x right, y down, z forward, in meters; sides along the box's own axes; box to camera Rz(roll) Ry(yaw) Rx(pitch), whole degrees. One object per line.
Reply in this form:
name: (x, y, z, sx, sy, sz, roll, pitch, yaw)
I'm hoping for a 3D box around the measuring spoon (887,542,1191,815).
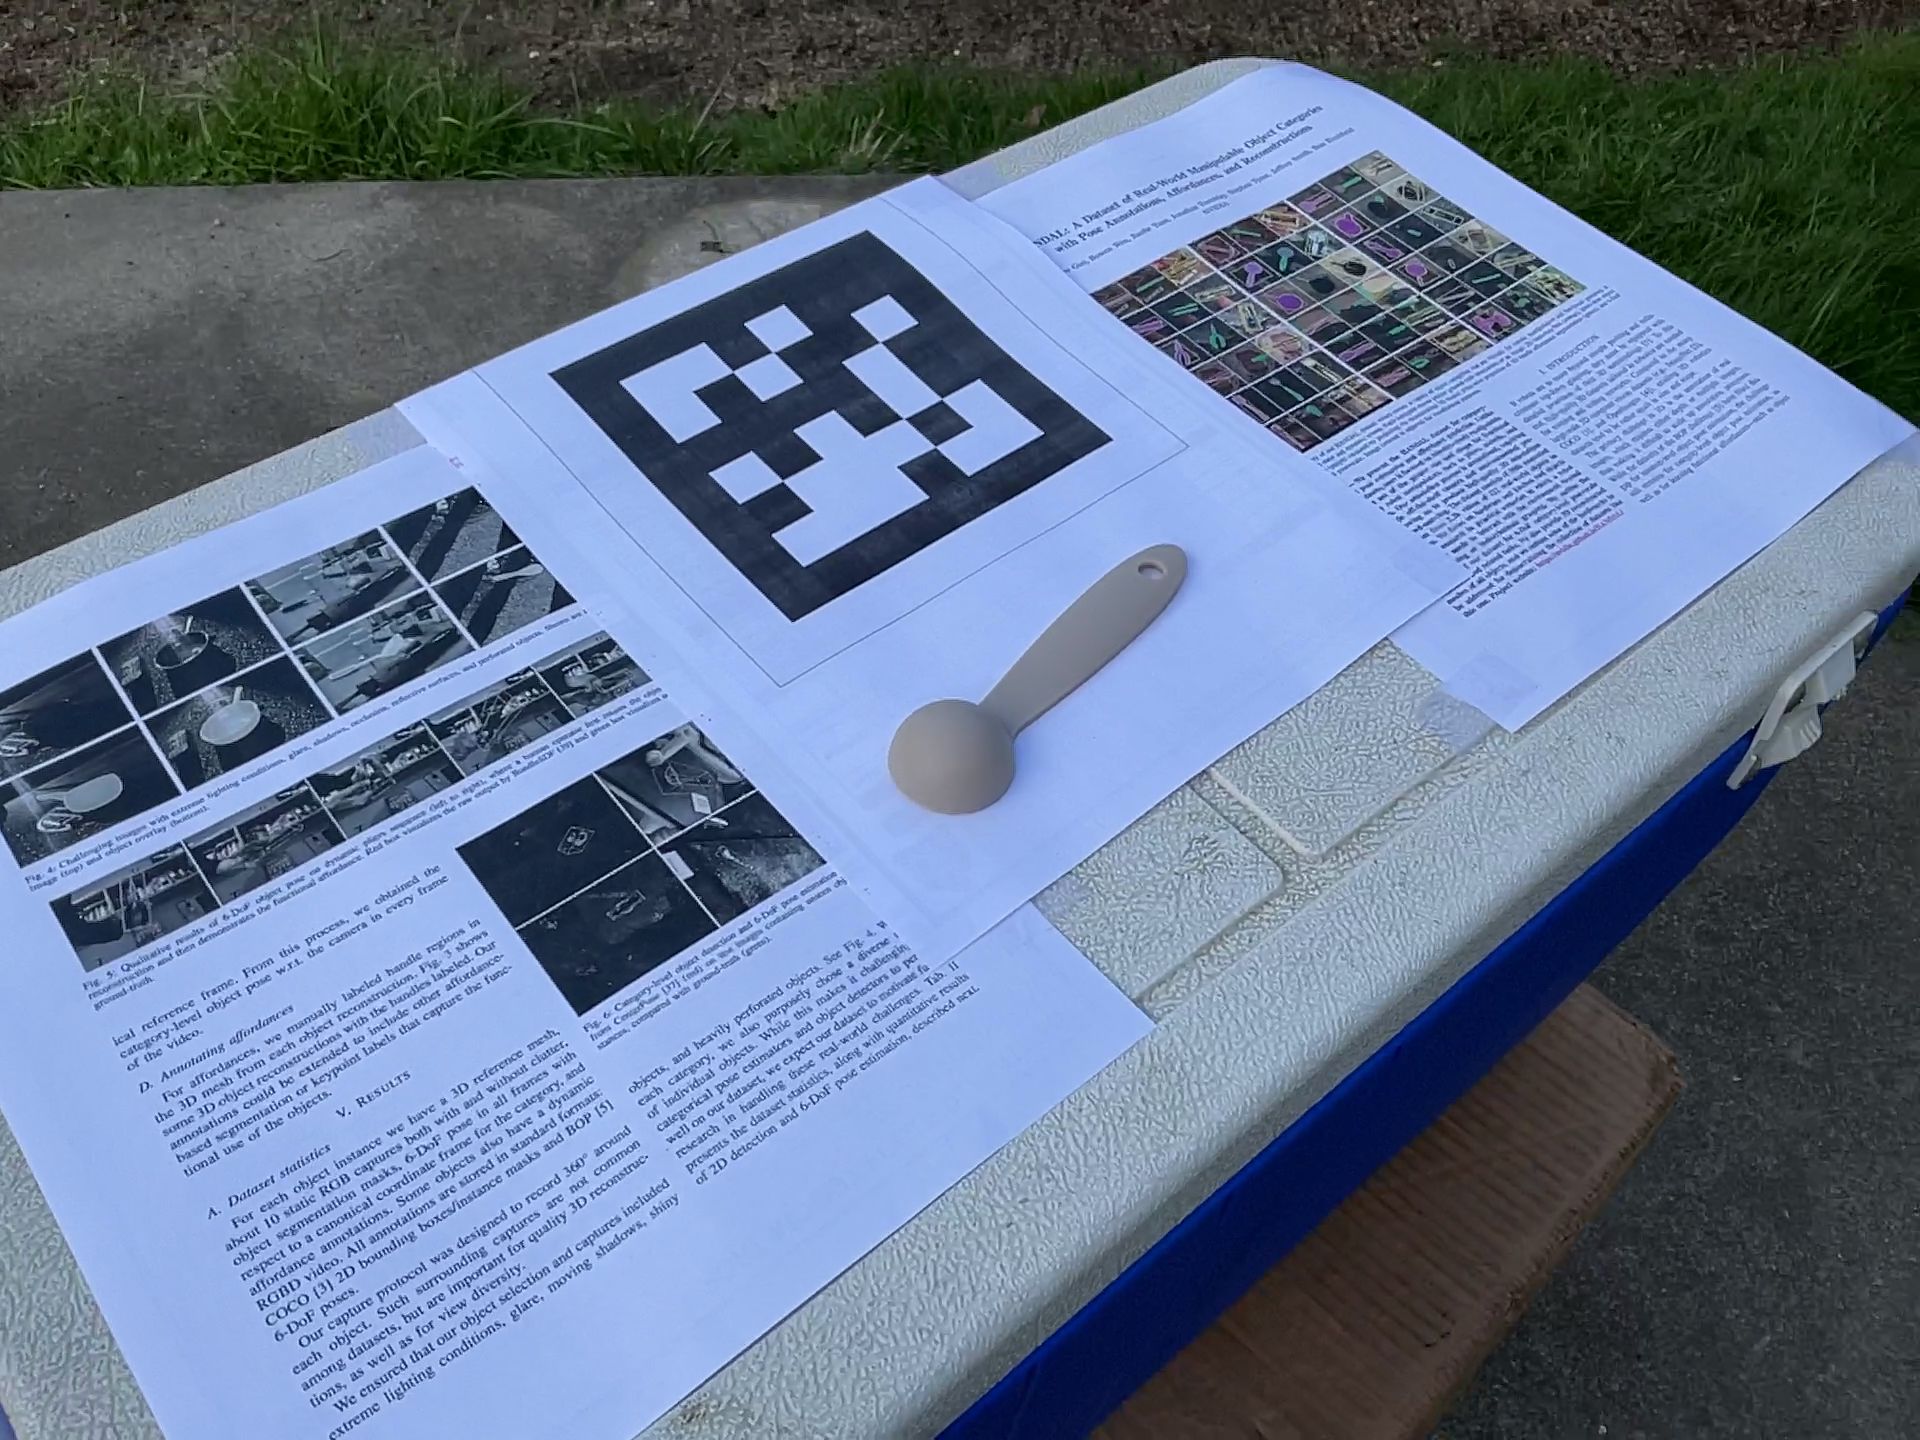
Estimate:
measuring spoon: (0.027, -0.019, 0.439, 0.034, 0.018, 0.124, 34, 57, 21)
